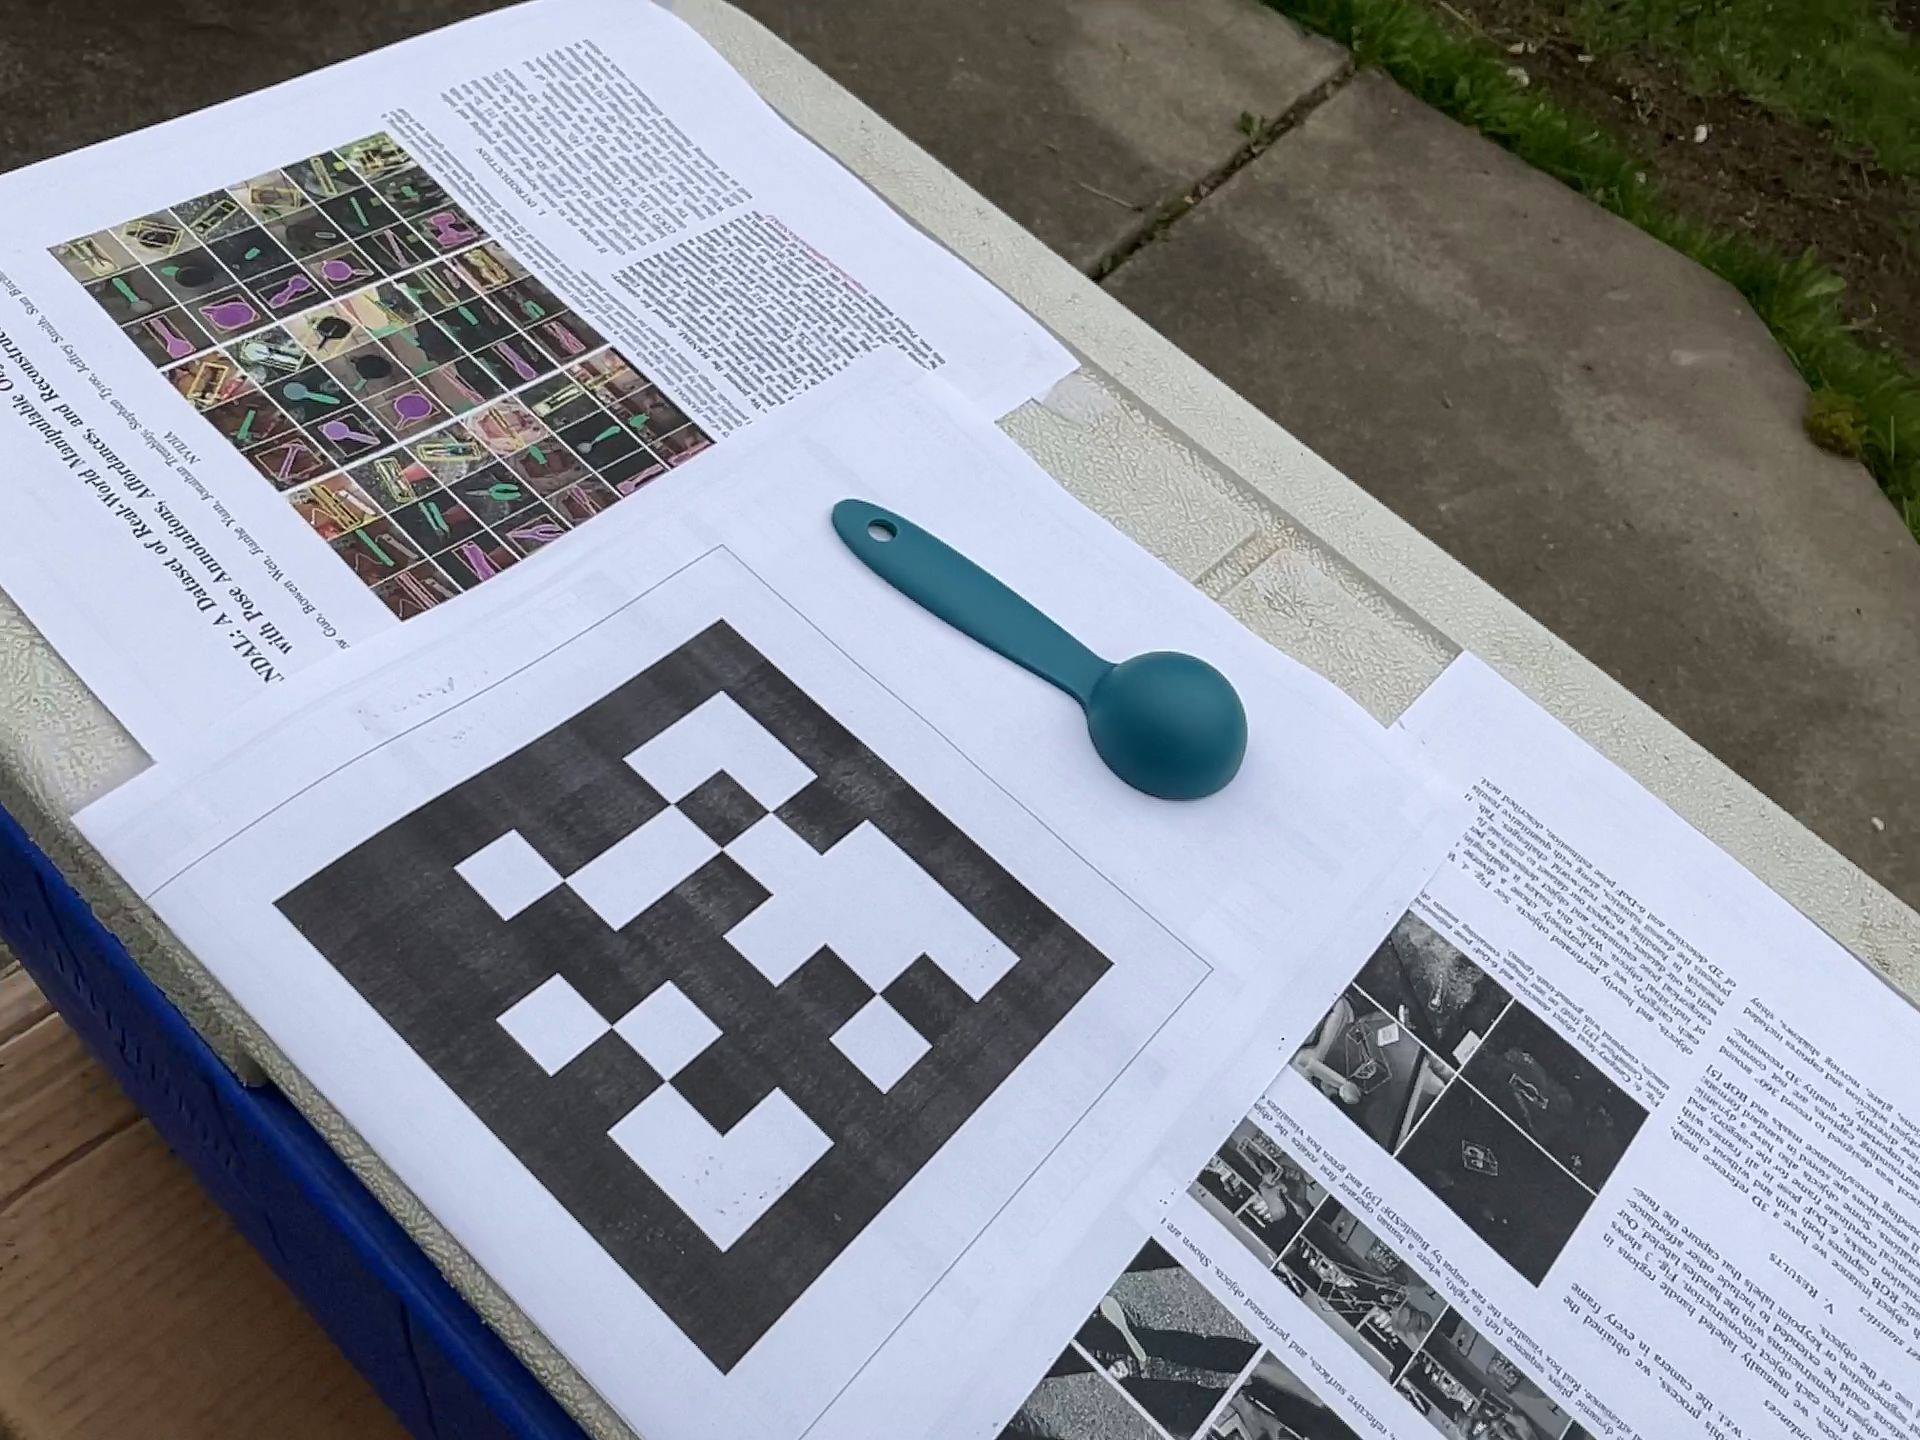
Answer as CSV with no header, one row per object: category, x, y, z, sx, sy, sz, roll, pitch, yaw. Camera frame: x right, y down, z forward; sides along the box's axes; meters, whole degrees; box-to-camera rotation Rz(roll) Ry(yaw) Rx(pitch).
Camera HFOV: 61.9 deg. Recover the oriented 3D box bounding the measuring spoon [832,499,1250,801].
measuring spoon,0.020,-0.026,0.416,0.128,0.021,0.042,34,58,10
